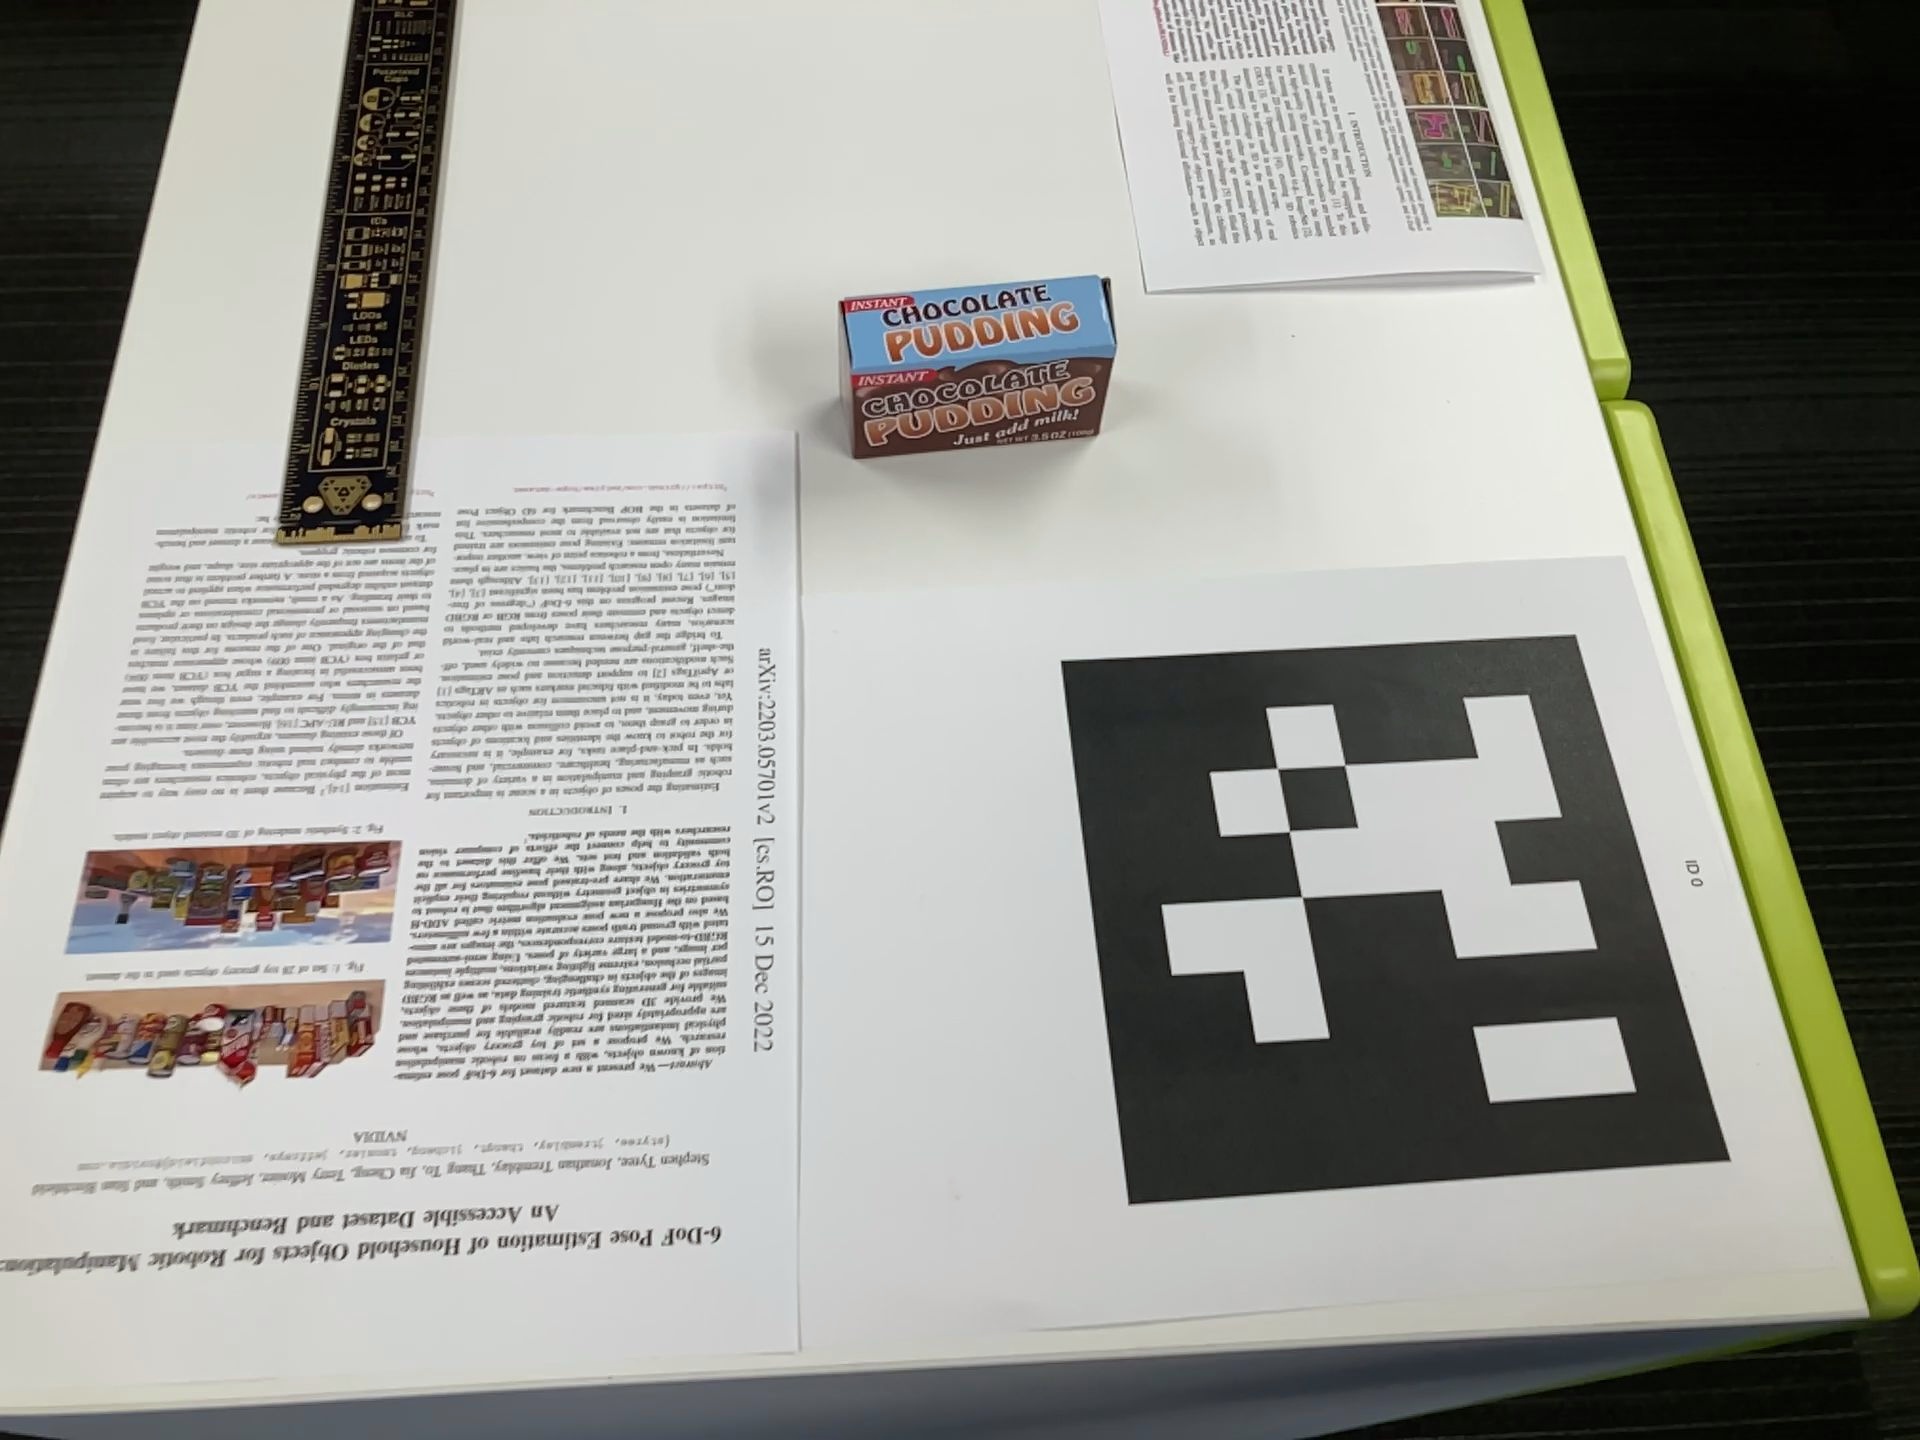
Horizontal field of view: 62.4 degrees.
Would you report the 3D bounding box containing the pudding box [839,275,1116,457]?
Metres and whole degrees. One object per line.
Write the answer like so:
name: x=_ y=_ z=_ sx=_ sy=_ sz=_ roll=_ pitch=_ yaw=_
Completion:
pudding box: x=0.005 y=-0.112 z=0.504 sx=0.083 sy=0.049 sz=0.030 roll=-6 pitch=65 yaw=-6
